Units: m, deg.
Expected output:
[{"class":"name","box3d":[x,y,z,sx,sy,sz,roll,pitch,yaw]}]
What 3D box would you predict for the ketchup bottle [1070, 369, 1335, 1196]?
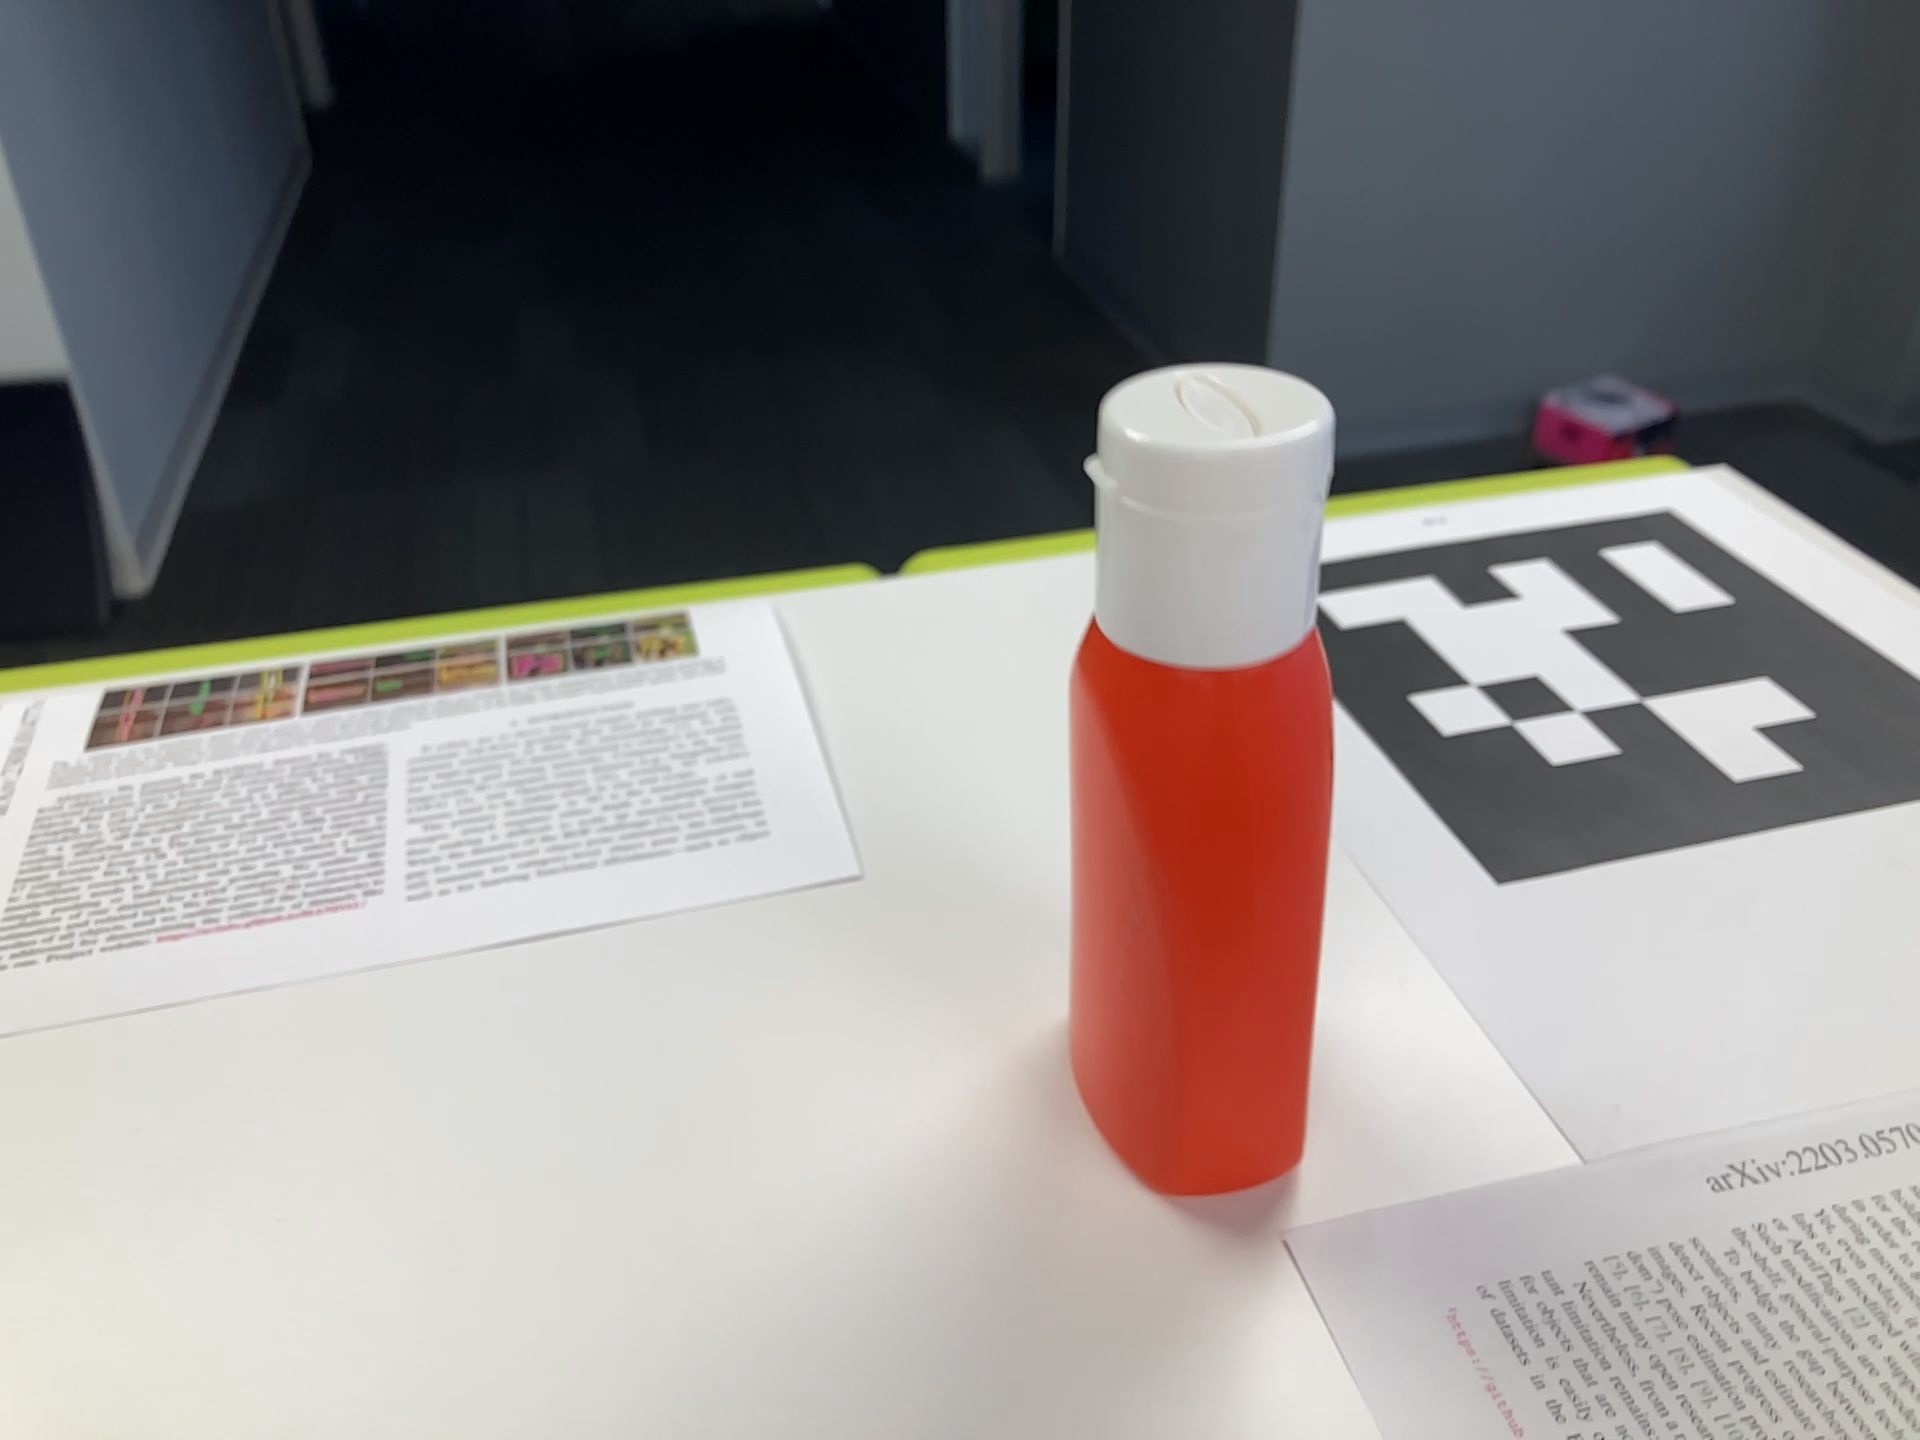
[{"class":"ketchup bottle","box3d":[0.042,0.014,0.288,0.043,0.149,0.065,-10,34,-9]}]
